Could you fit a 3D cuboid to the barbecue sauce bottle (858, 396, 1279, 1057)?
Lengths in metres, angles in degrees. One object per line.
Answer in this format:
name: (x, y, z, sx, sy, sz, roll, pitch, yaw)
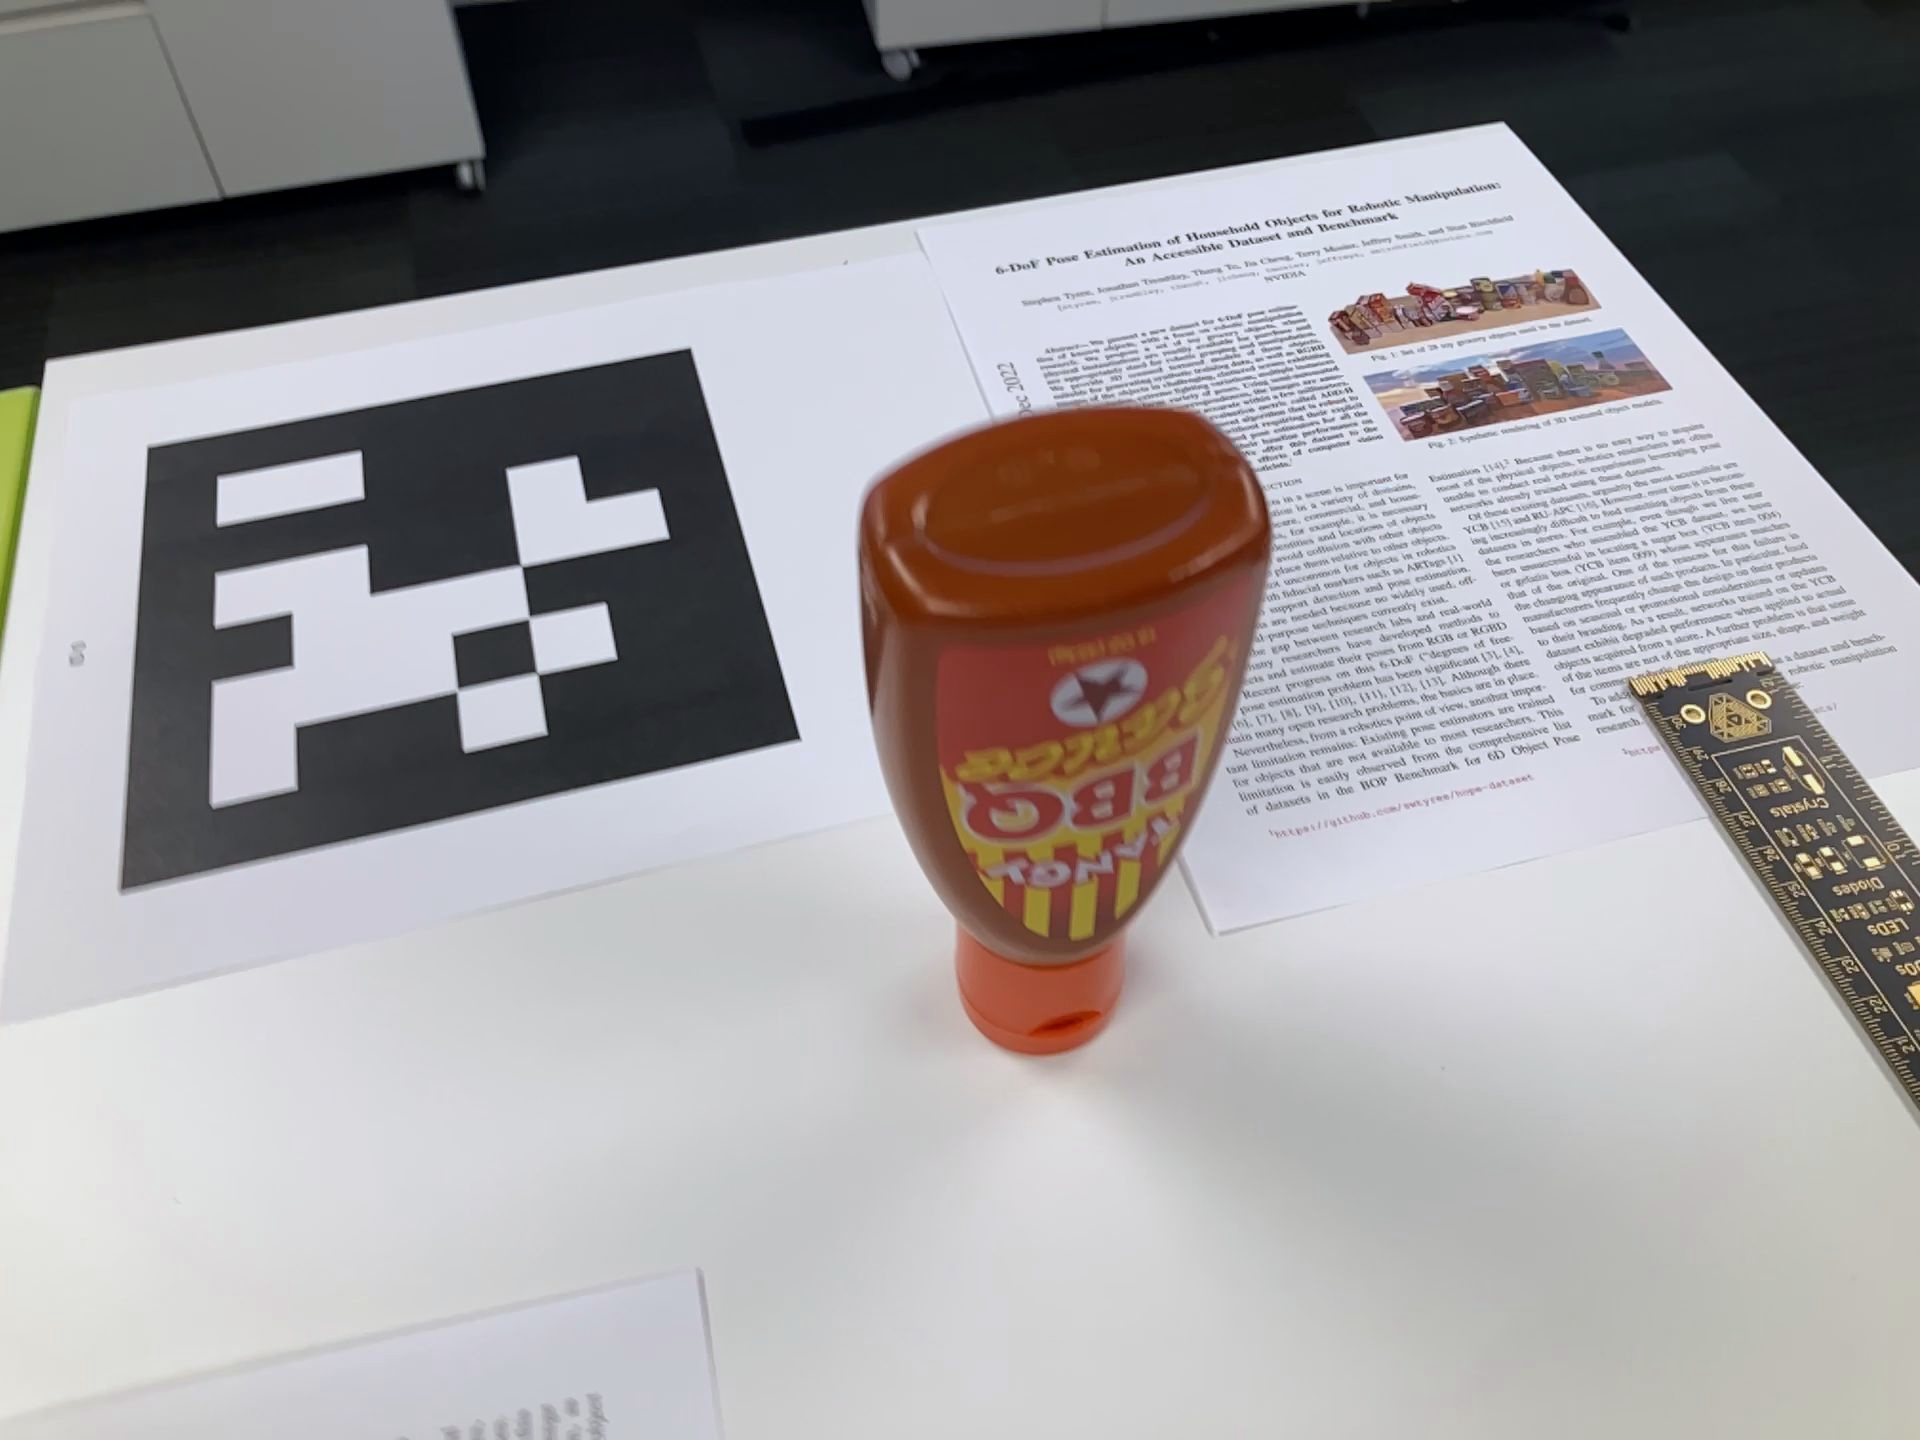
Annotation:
barbecue sauce bottle: (0.017, 0.012, 0.292, 0.065, 0.148, 0.043, -14, 52, -10)
